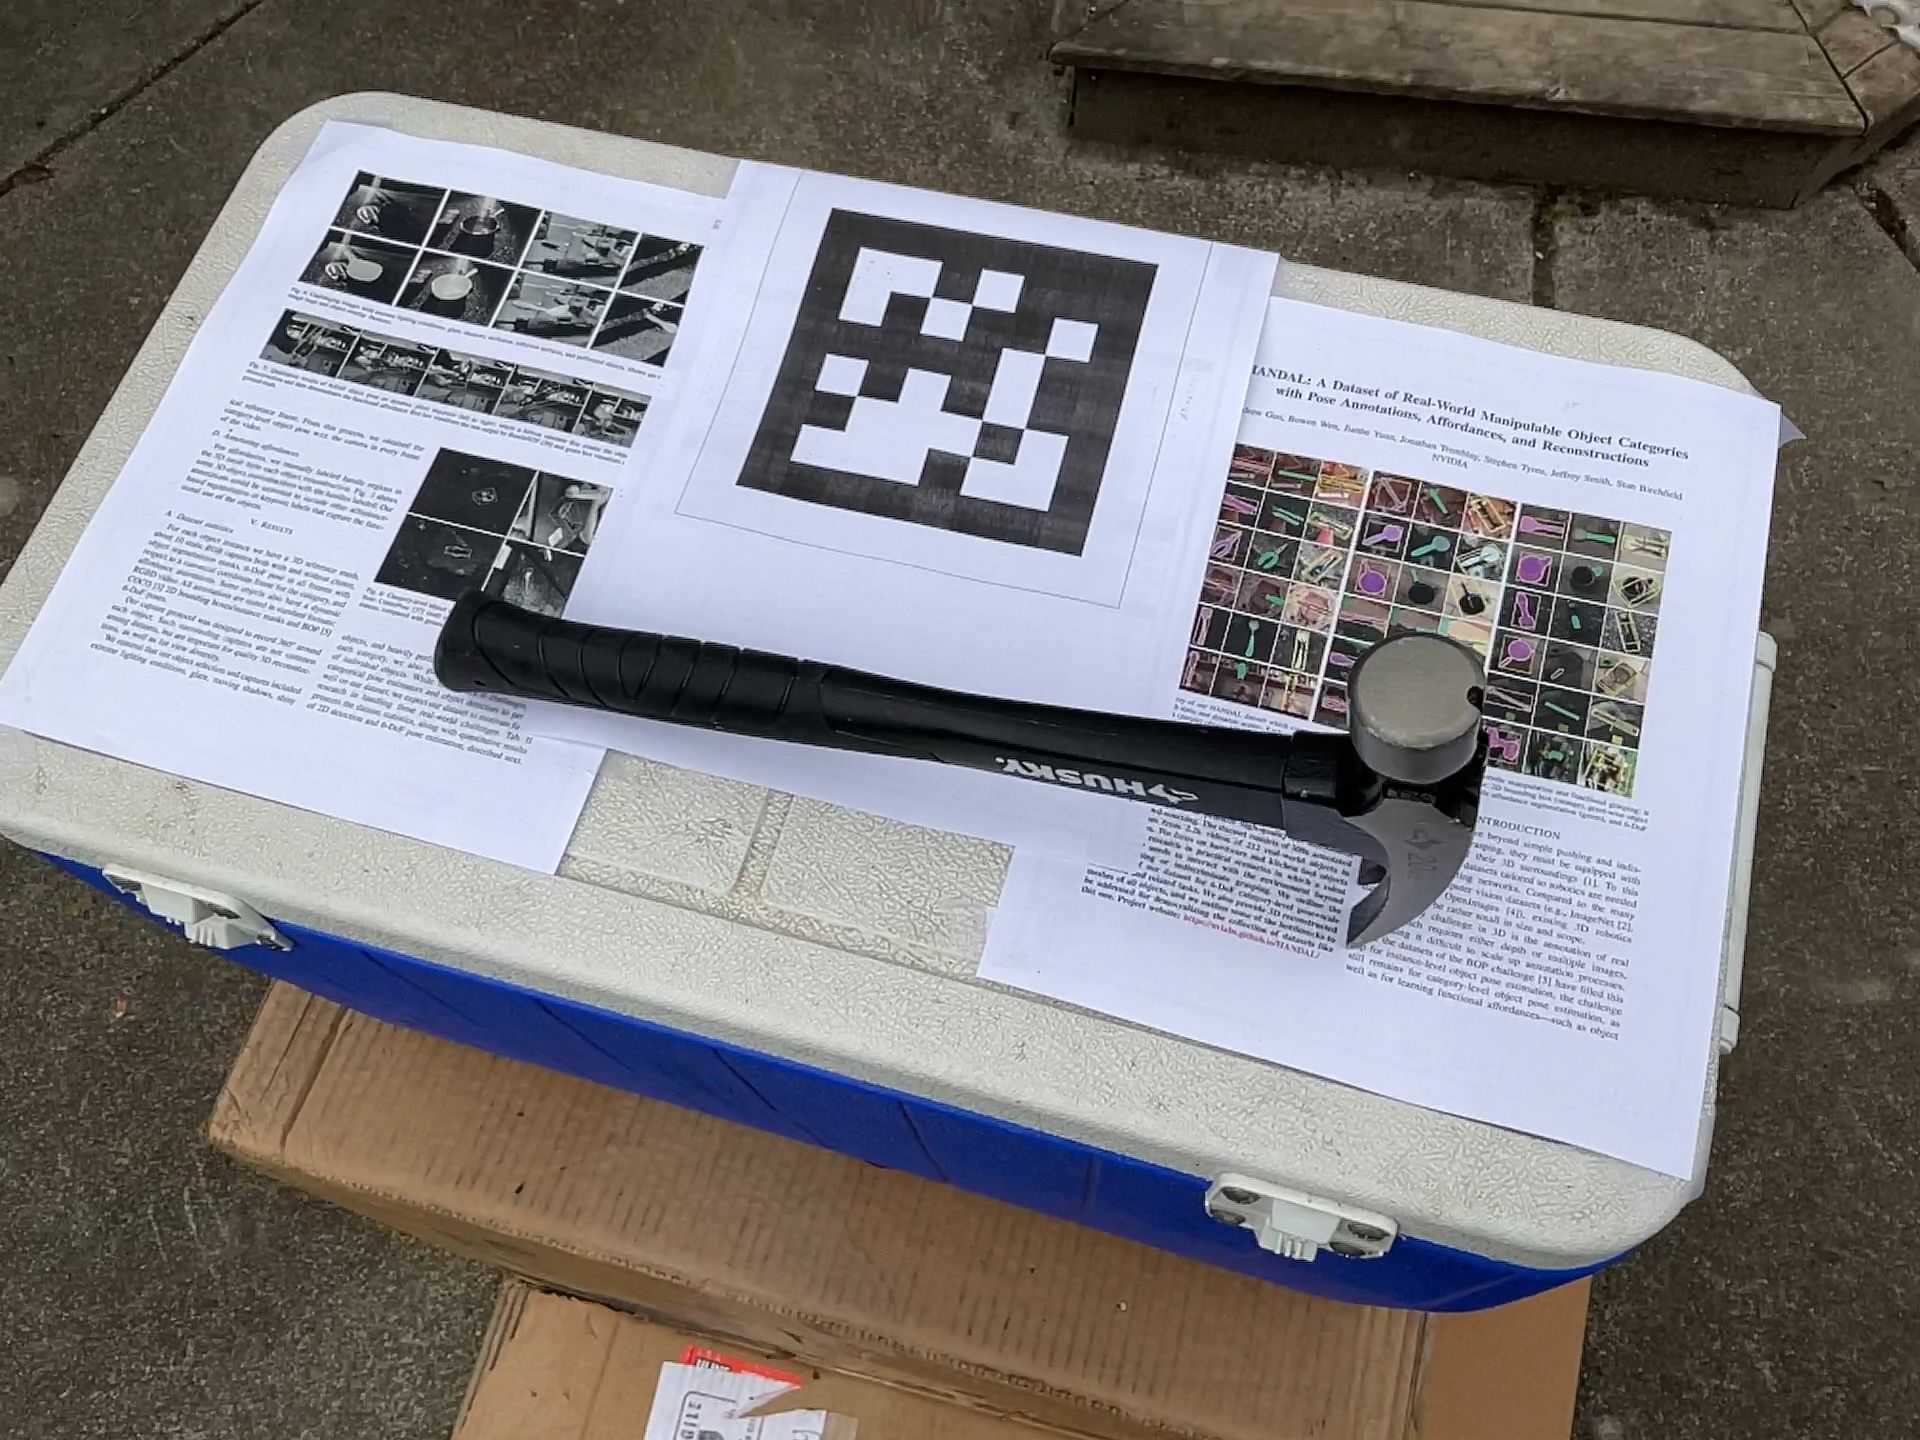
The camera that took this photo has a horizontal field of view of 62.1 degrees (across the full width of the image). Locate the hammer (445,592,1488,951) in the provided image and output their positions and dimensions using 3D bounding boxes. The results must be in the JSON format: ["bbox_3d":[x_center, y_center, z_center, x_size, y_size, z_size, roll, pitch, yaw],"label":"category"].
[{"bbox_3d":[-0.014,0.003,0.493,0.335,0.146,0.035,9,65,20],"label":"hammer"}]
